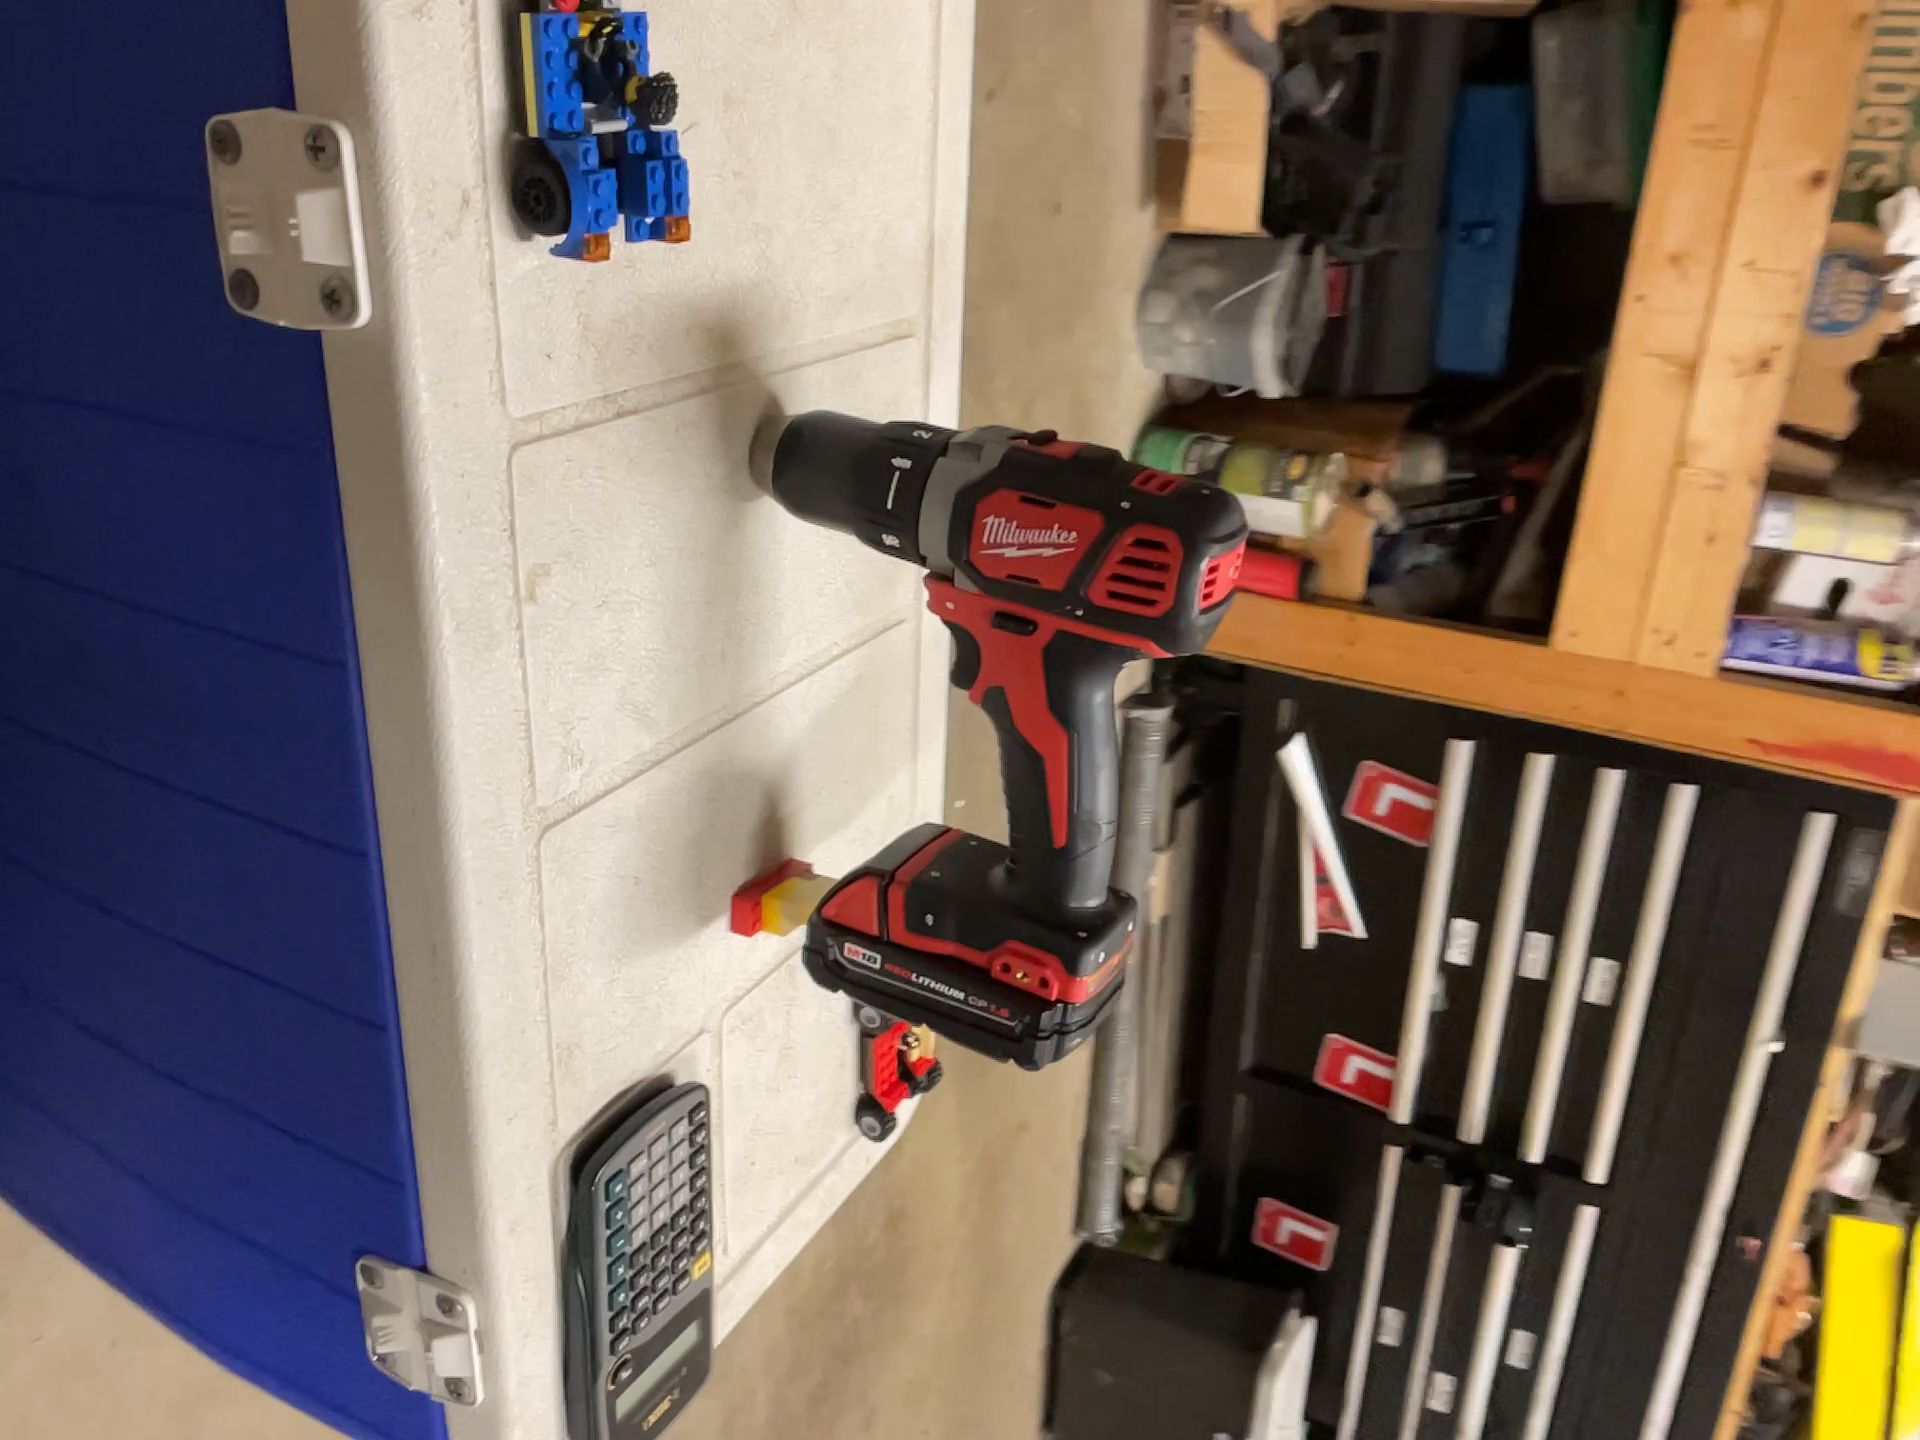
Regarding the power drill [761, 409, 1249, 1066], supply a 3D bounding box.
[{"bbox_3d":[-0.002,-0.003,0.610,0.080,0.188,0.226,-30,134,-58],"label":"power drill"}]
